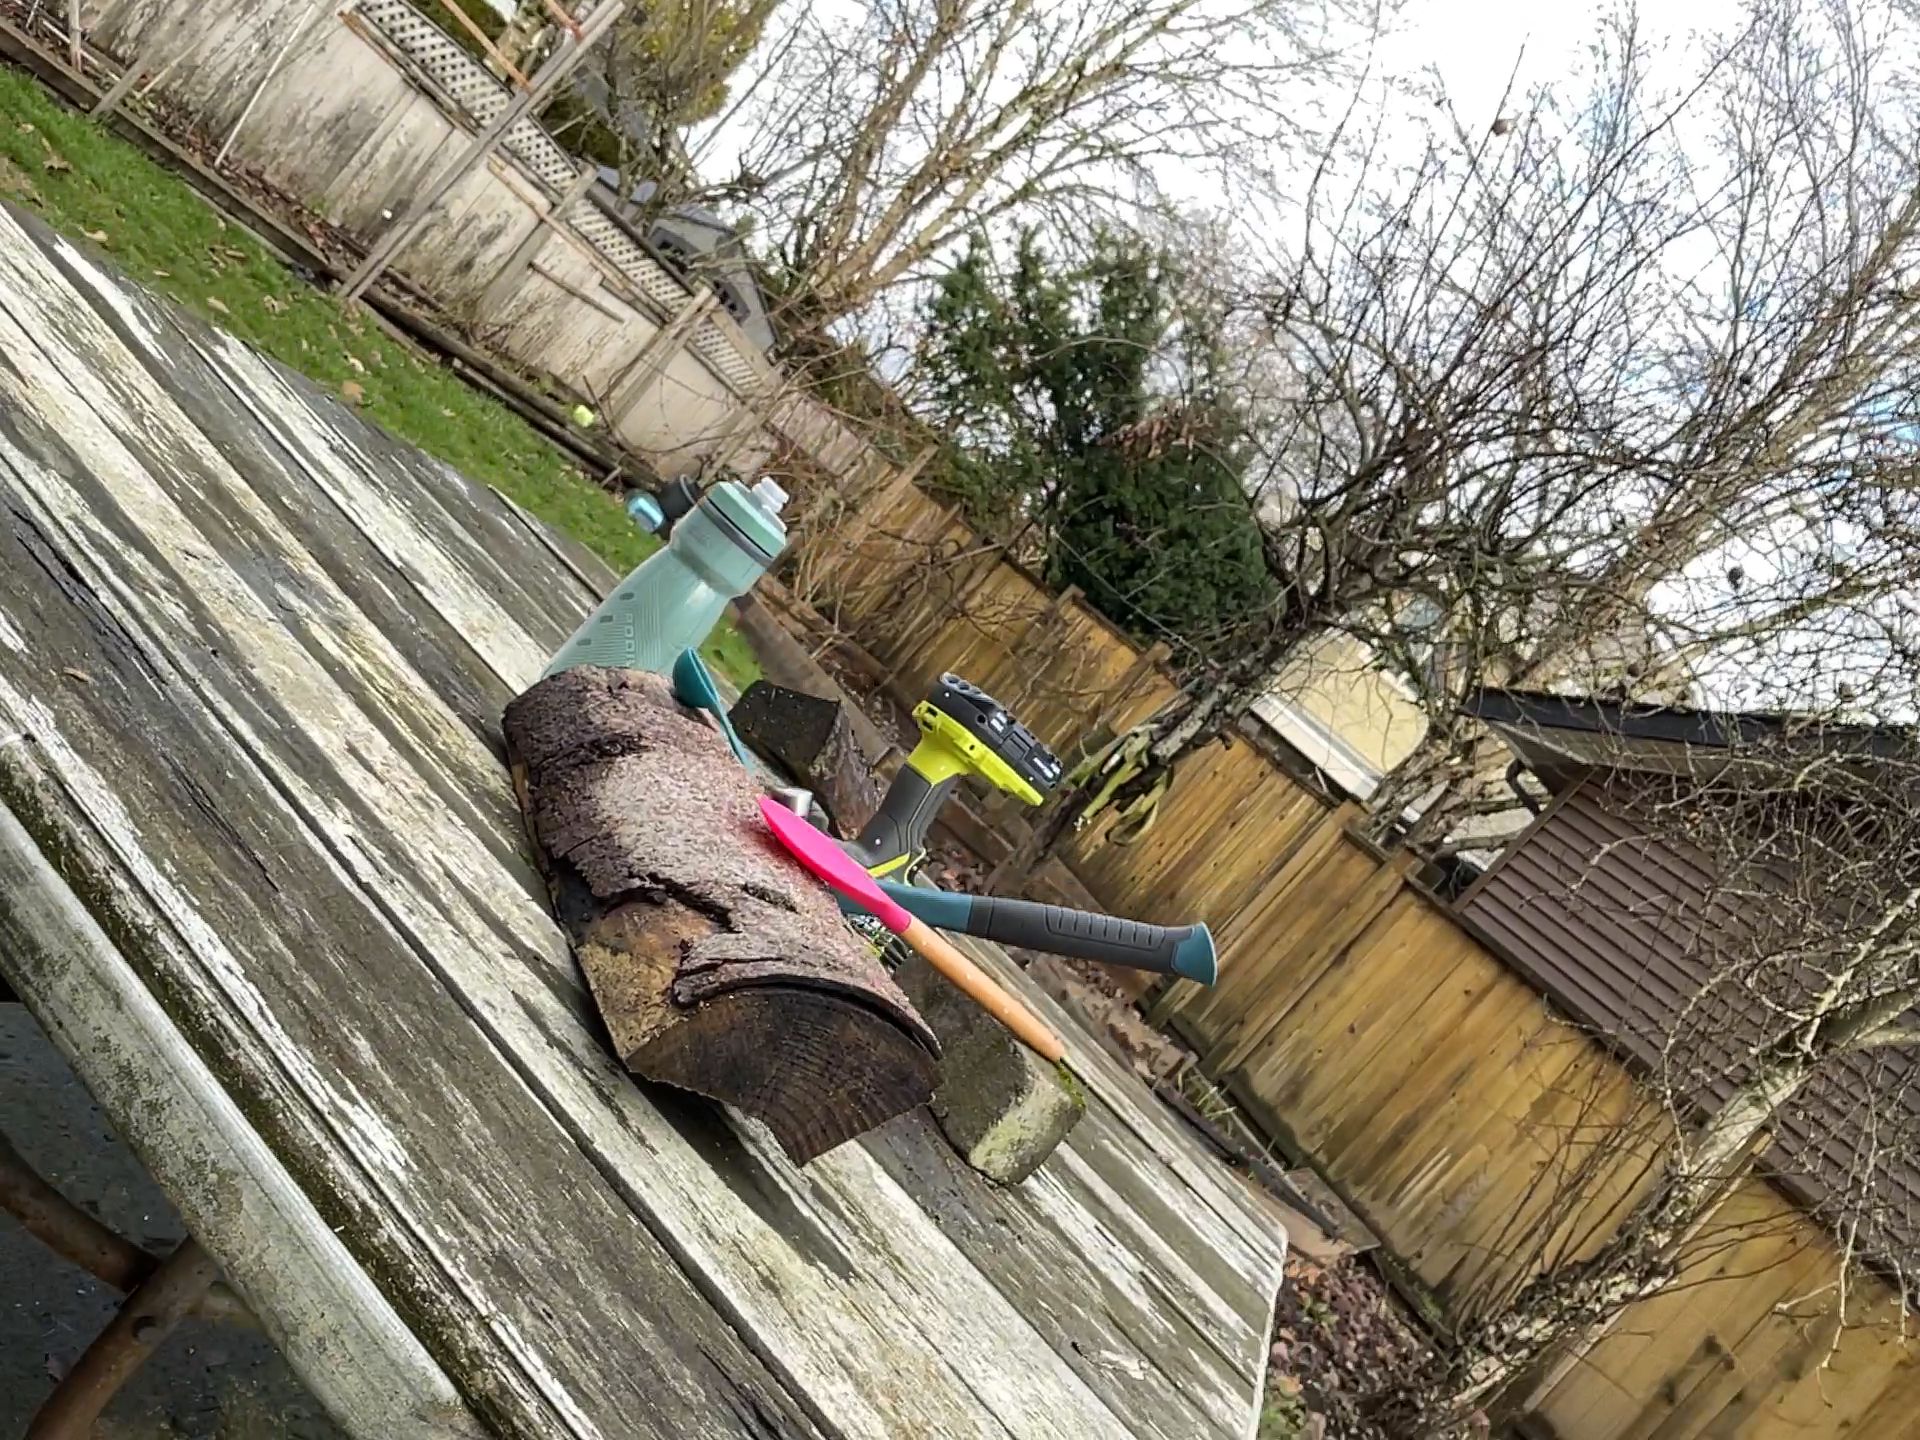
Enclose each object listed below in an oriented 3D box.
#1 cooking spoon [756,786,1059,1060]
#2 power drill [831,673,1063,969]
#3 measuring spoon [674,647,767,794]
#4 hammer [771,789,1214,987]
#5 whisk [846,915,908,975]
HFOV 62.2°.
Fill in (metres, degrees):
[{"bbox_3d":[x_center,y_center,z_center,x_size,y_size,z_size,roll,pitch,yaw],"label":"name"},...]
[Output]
[{"bbox_3d":[-0.023,0.134,0.972,0.318,0.017,0.069,46,-1,-39],"label":"cooking spoon"},{"bbox_3d":[-0.027,0.090,1.284,0.171,0.223,0.080,42,-6,-40],"label":"power drill"},{"bbox_3d":[-0.155,0.014,1.037,0.042,0.021,0.128,-96,160,-87],"label":"measuring spoon"},{"bbox_3d":[0.020,0.140,1.126,0.331,0.128,0.033,11,8,-4],"label":"hammer"},{"bbox_3d":[-0.020,0.211,1.240,0.238,0.055,0.055,45,8,-42],"label":"whisk"}]
